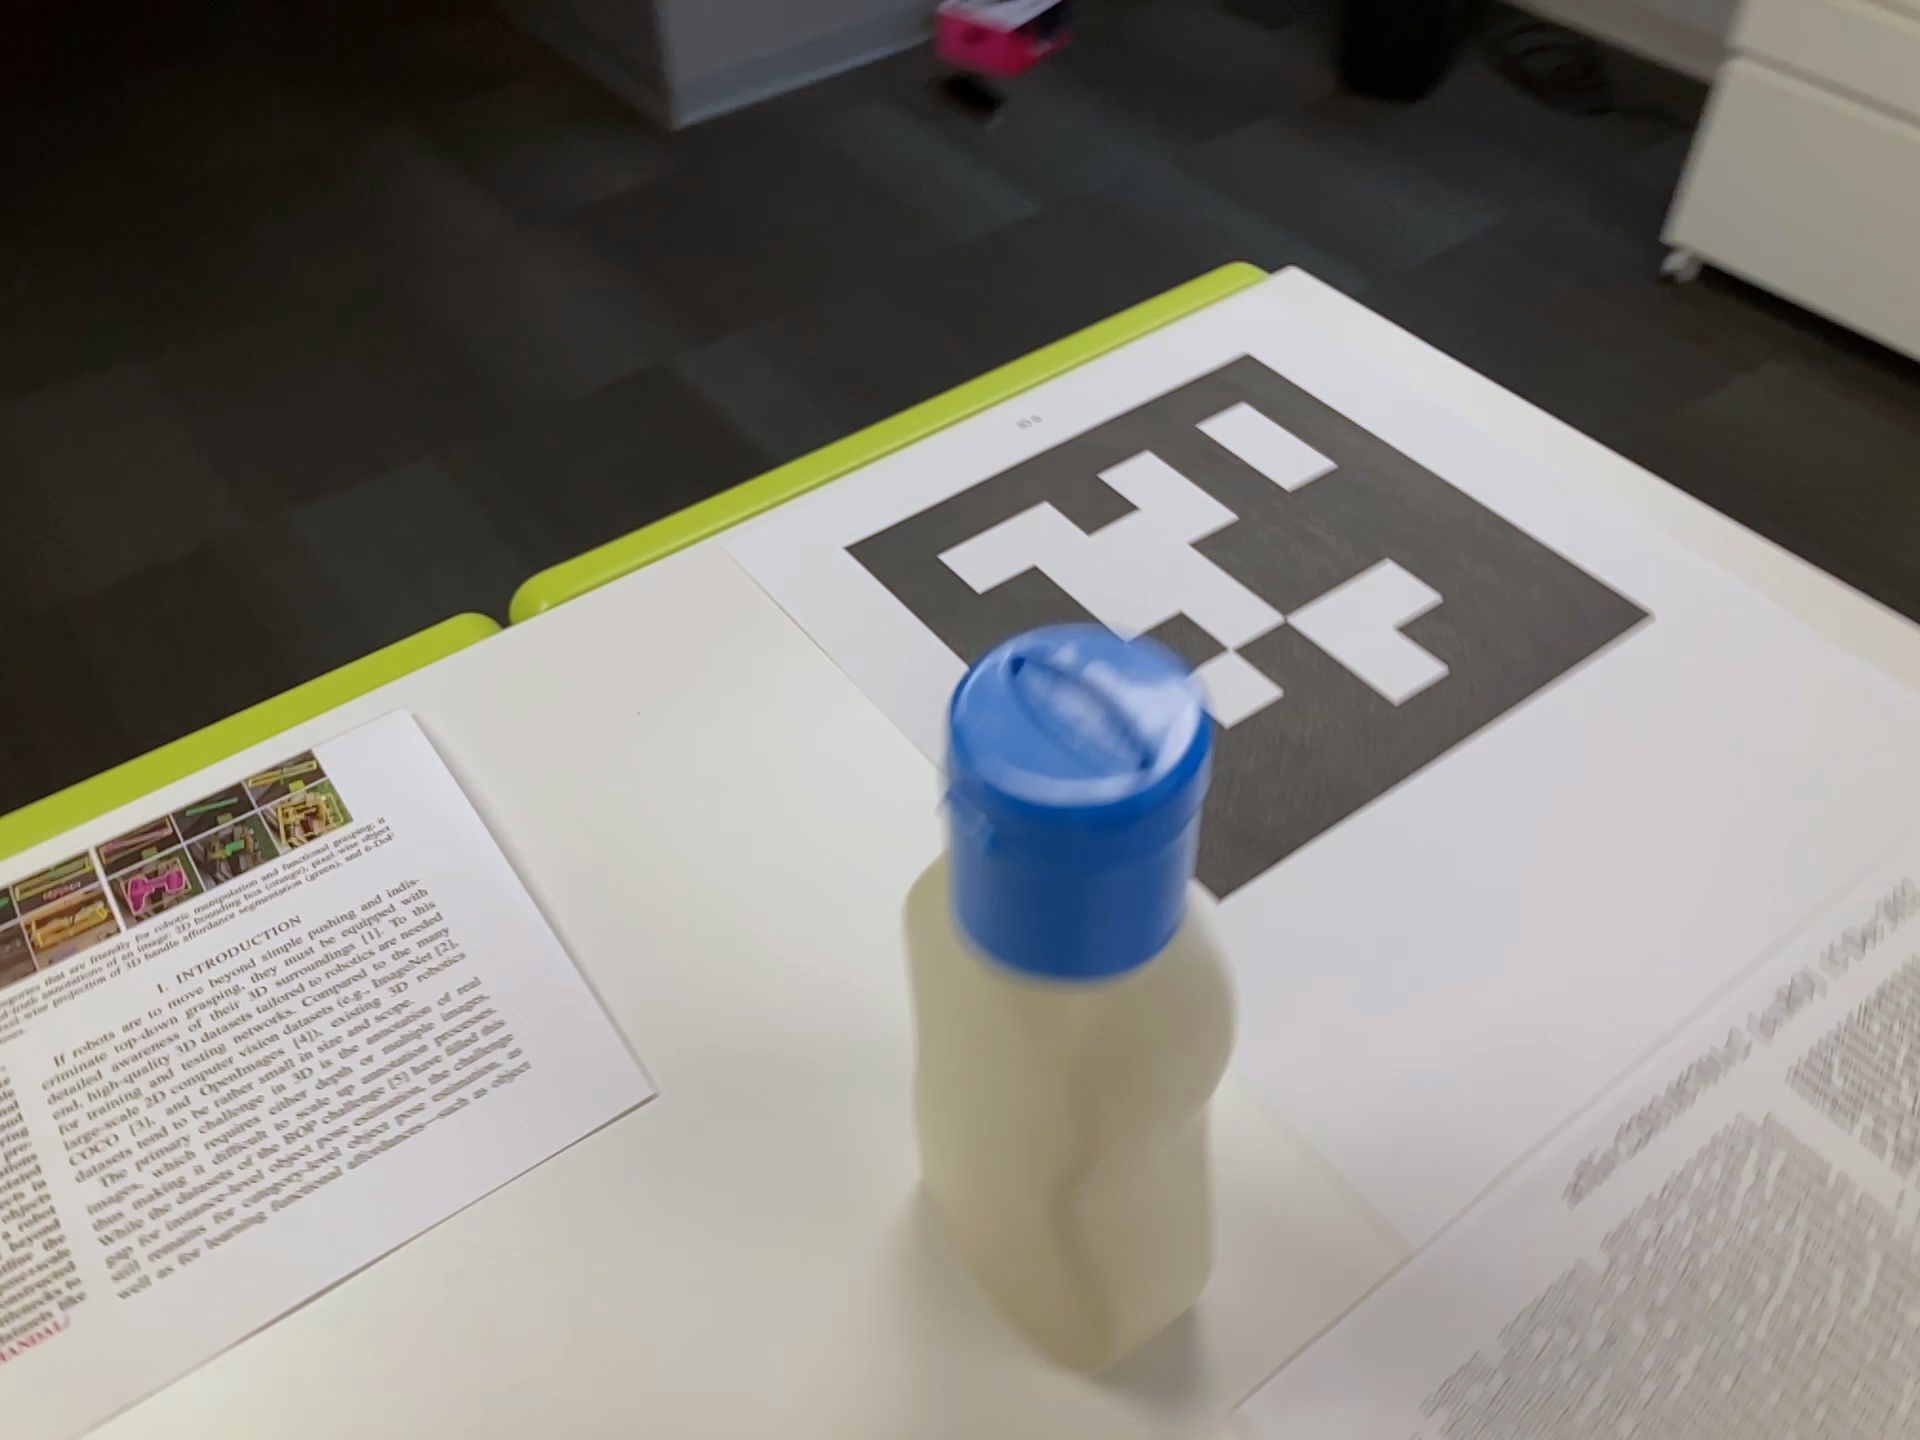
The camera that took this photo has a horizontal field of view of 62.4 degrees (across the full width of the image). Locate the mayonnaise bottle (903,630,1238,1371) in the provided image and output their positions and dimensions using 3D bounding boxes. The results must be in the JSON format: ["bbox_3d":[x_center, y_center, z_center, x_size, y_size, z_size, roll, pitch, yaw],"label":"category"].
[{"bbox_3d":[0.018,0.051,0.264,0.041,0.148,0.065,-28,52,-23],"label":"mayonnaise bottle"}]
